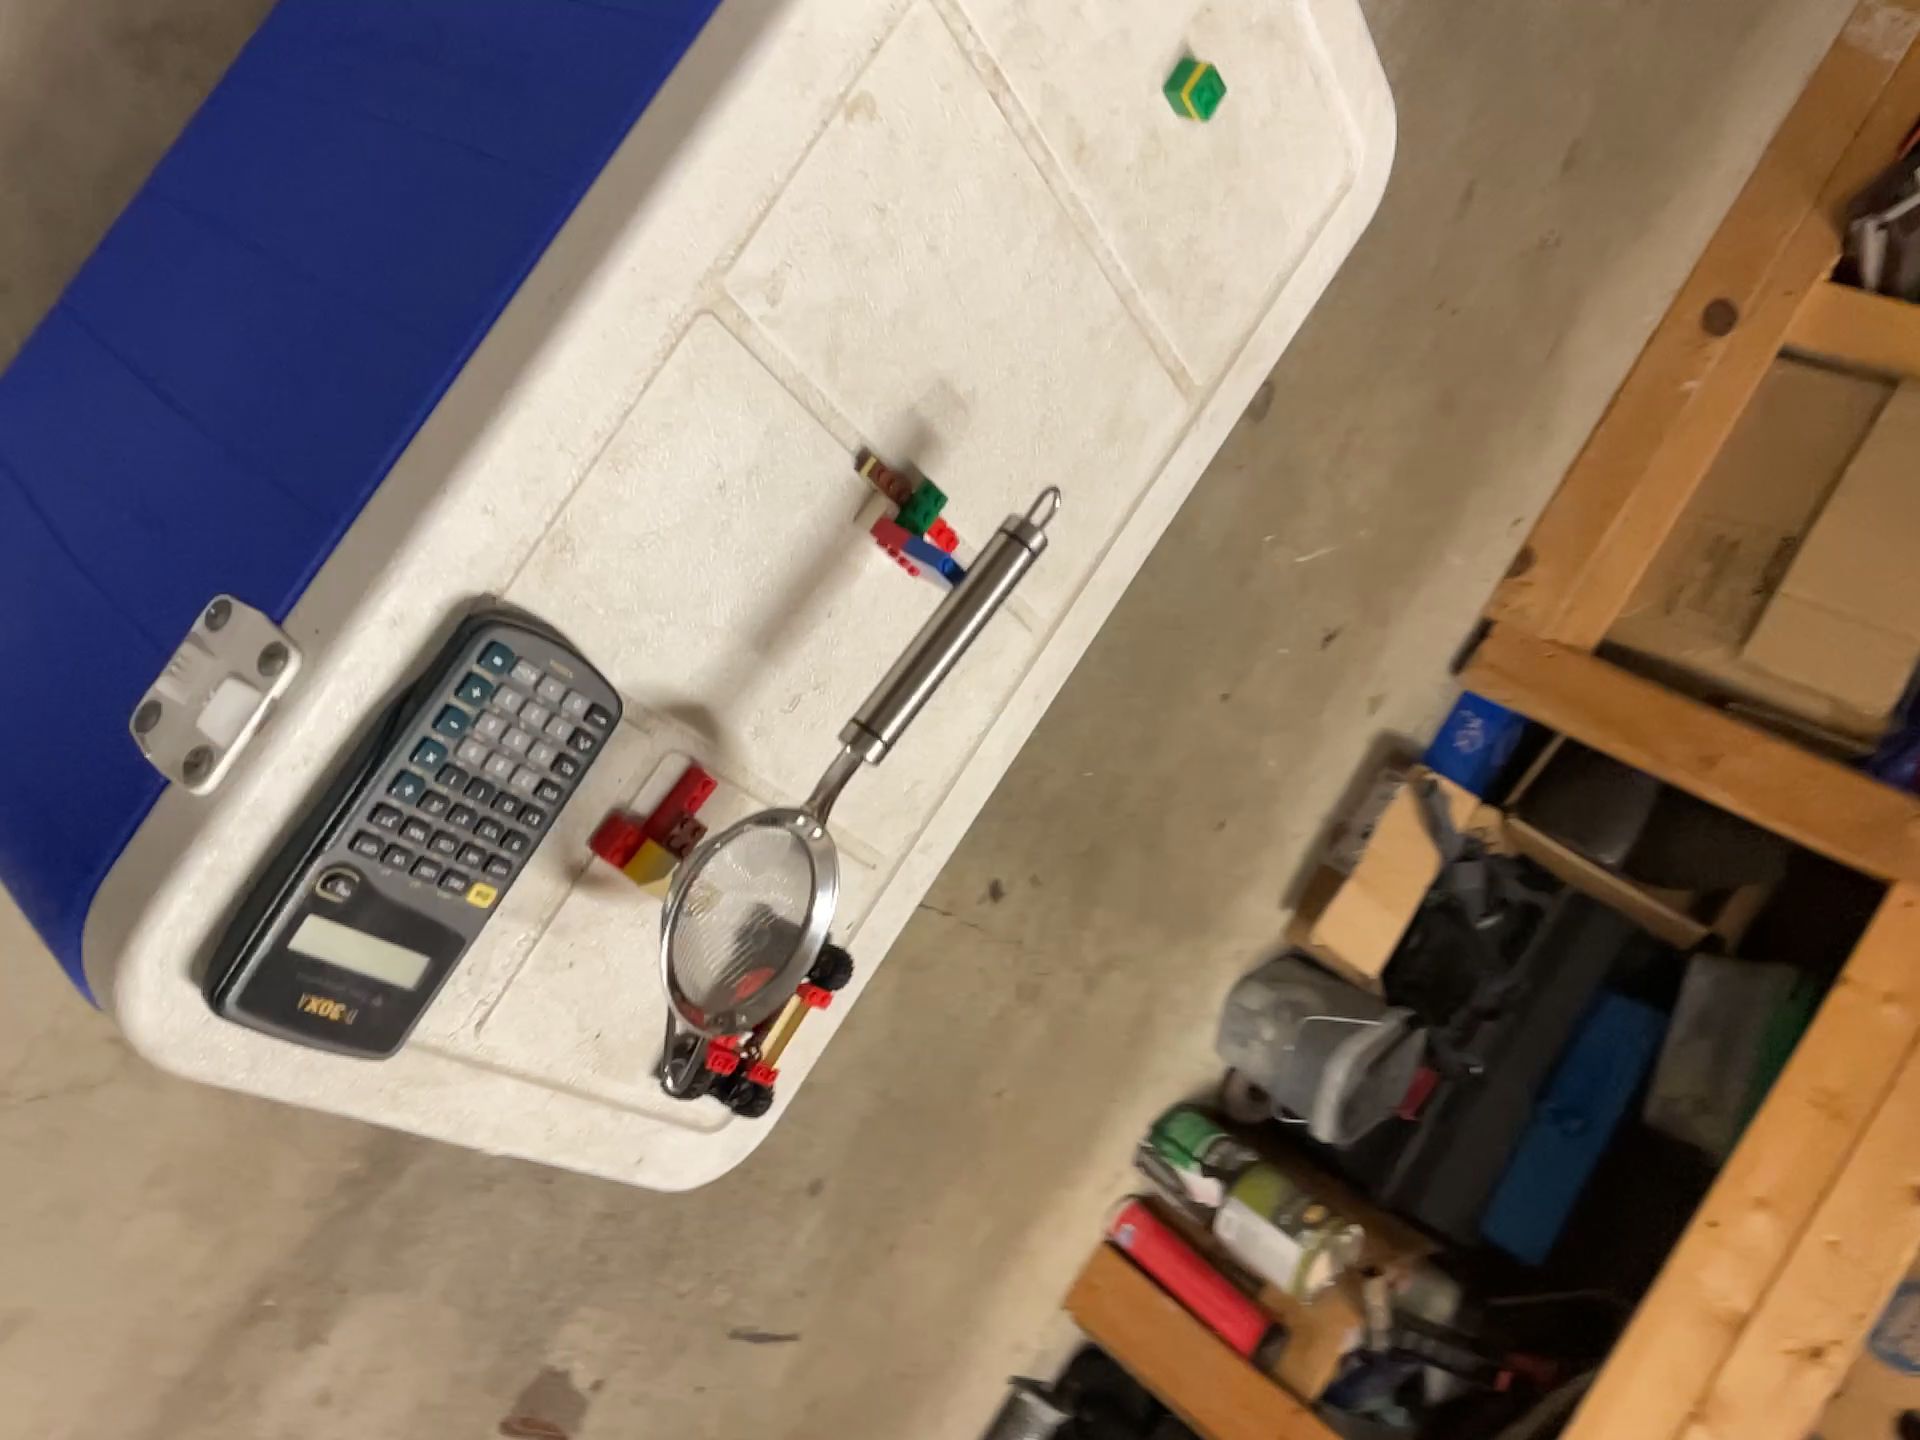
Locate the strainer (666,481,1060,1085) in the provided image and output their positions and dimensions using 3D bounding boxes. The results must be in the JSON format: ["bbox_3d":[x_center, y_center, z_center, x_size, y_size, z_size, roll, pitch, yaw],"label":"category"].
[{"bbox_3d":[-0.039,0.014,0.589,0.258,0.050,0.086,-54,145,-9],"label":"strainer"}]
